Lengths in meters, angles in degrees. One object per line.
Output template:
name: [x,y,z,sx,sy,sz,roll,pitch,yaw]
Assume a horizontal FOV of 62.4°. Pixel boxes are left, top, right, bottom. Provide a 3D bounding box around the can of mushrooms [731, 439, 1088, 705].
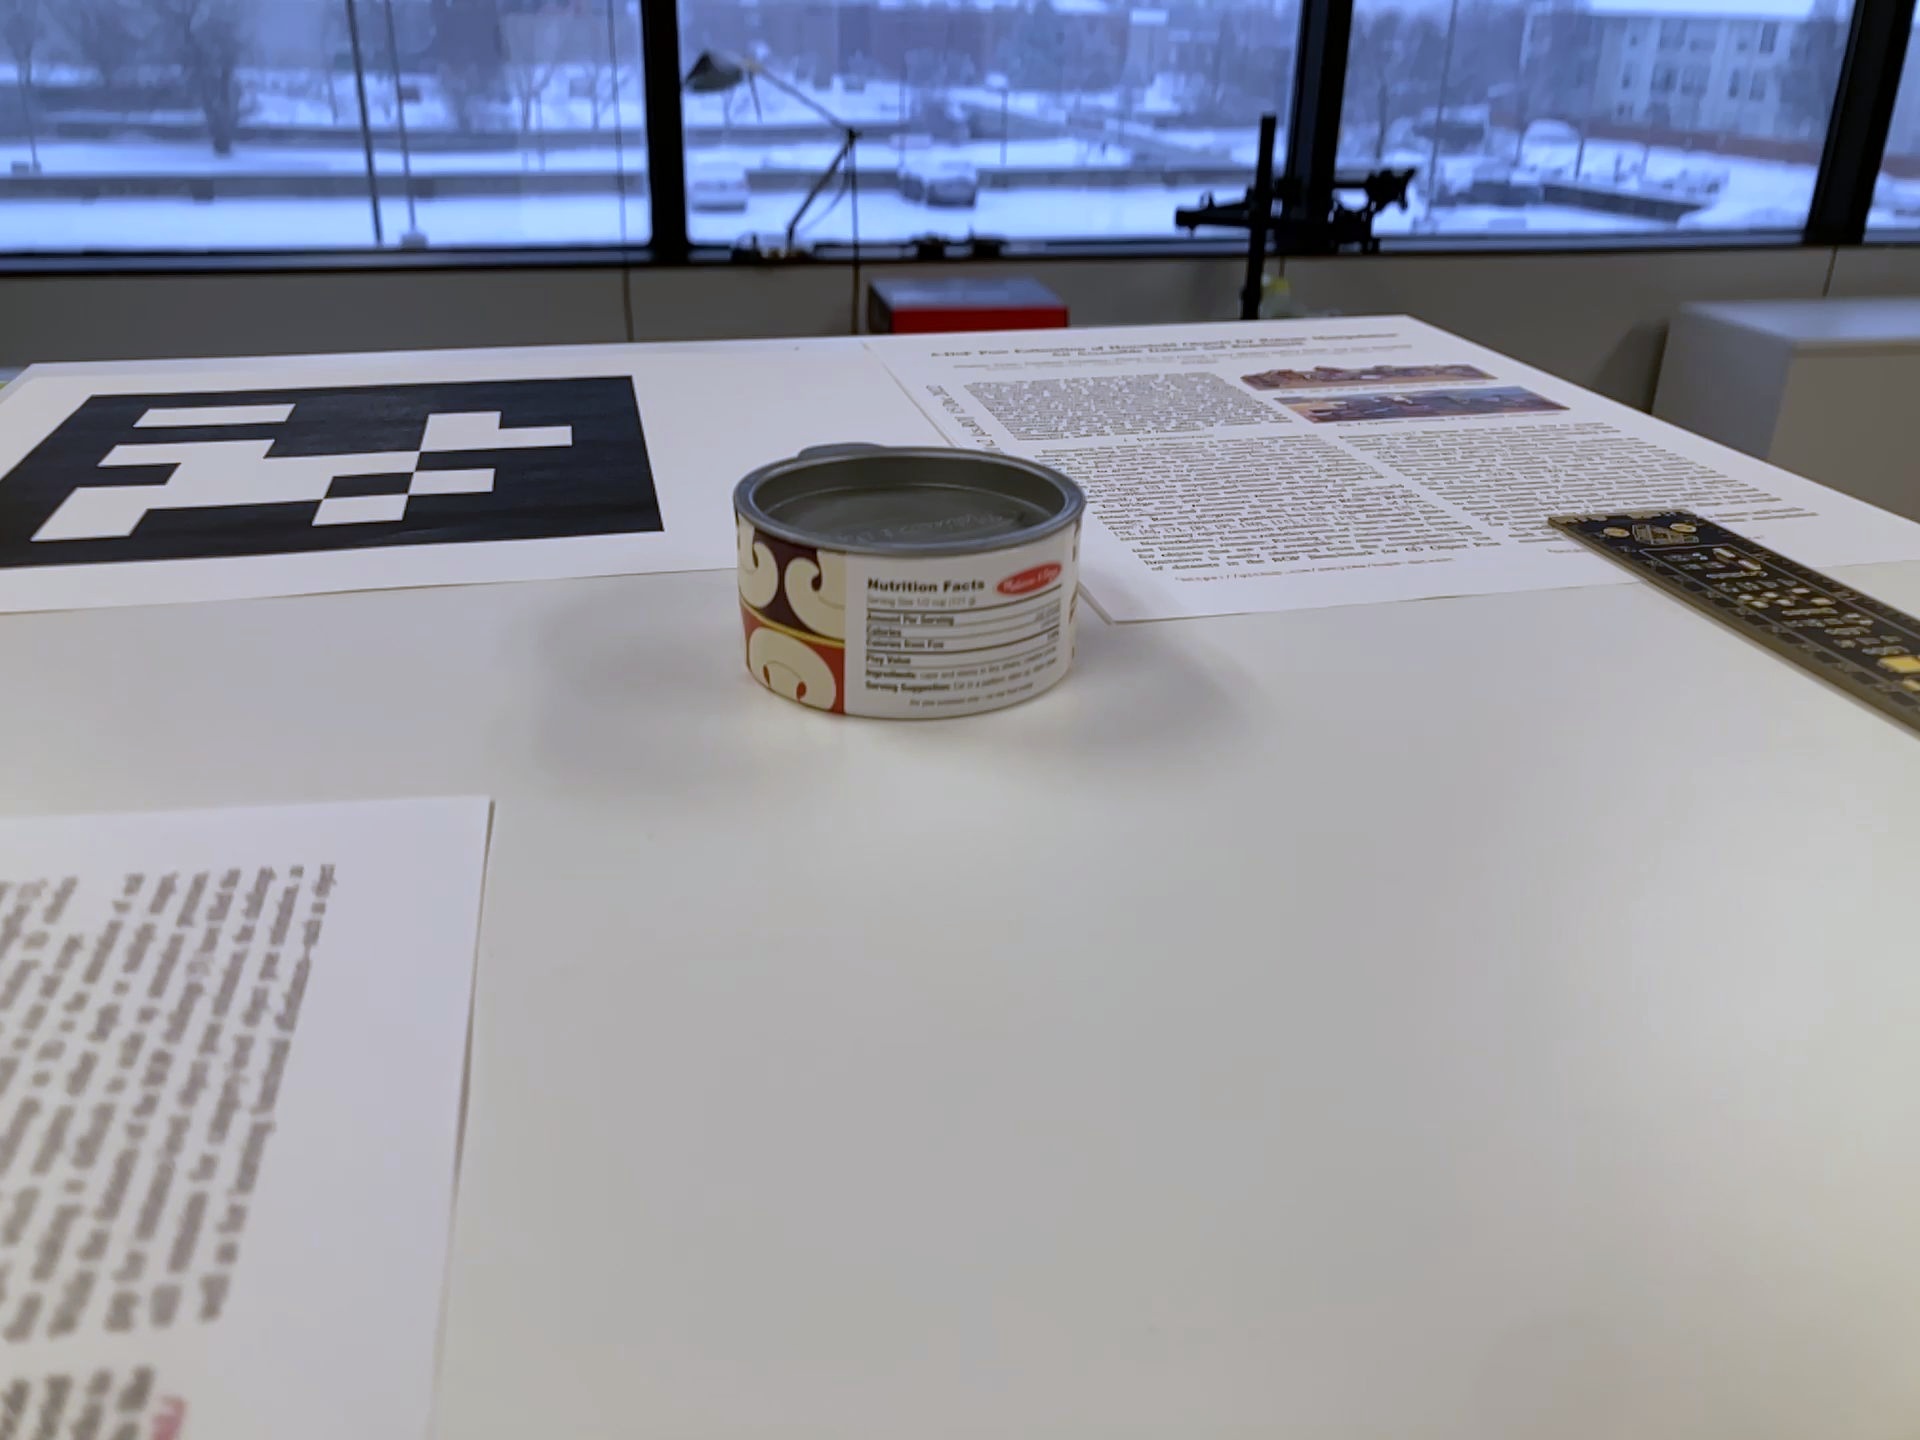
can of mushrooms: [-0.011,-0.031,0.304,0.071,0.033,0.071,0,24,0]
